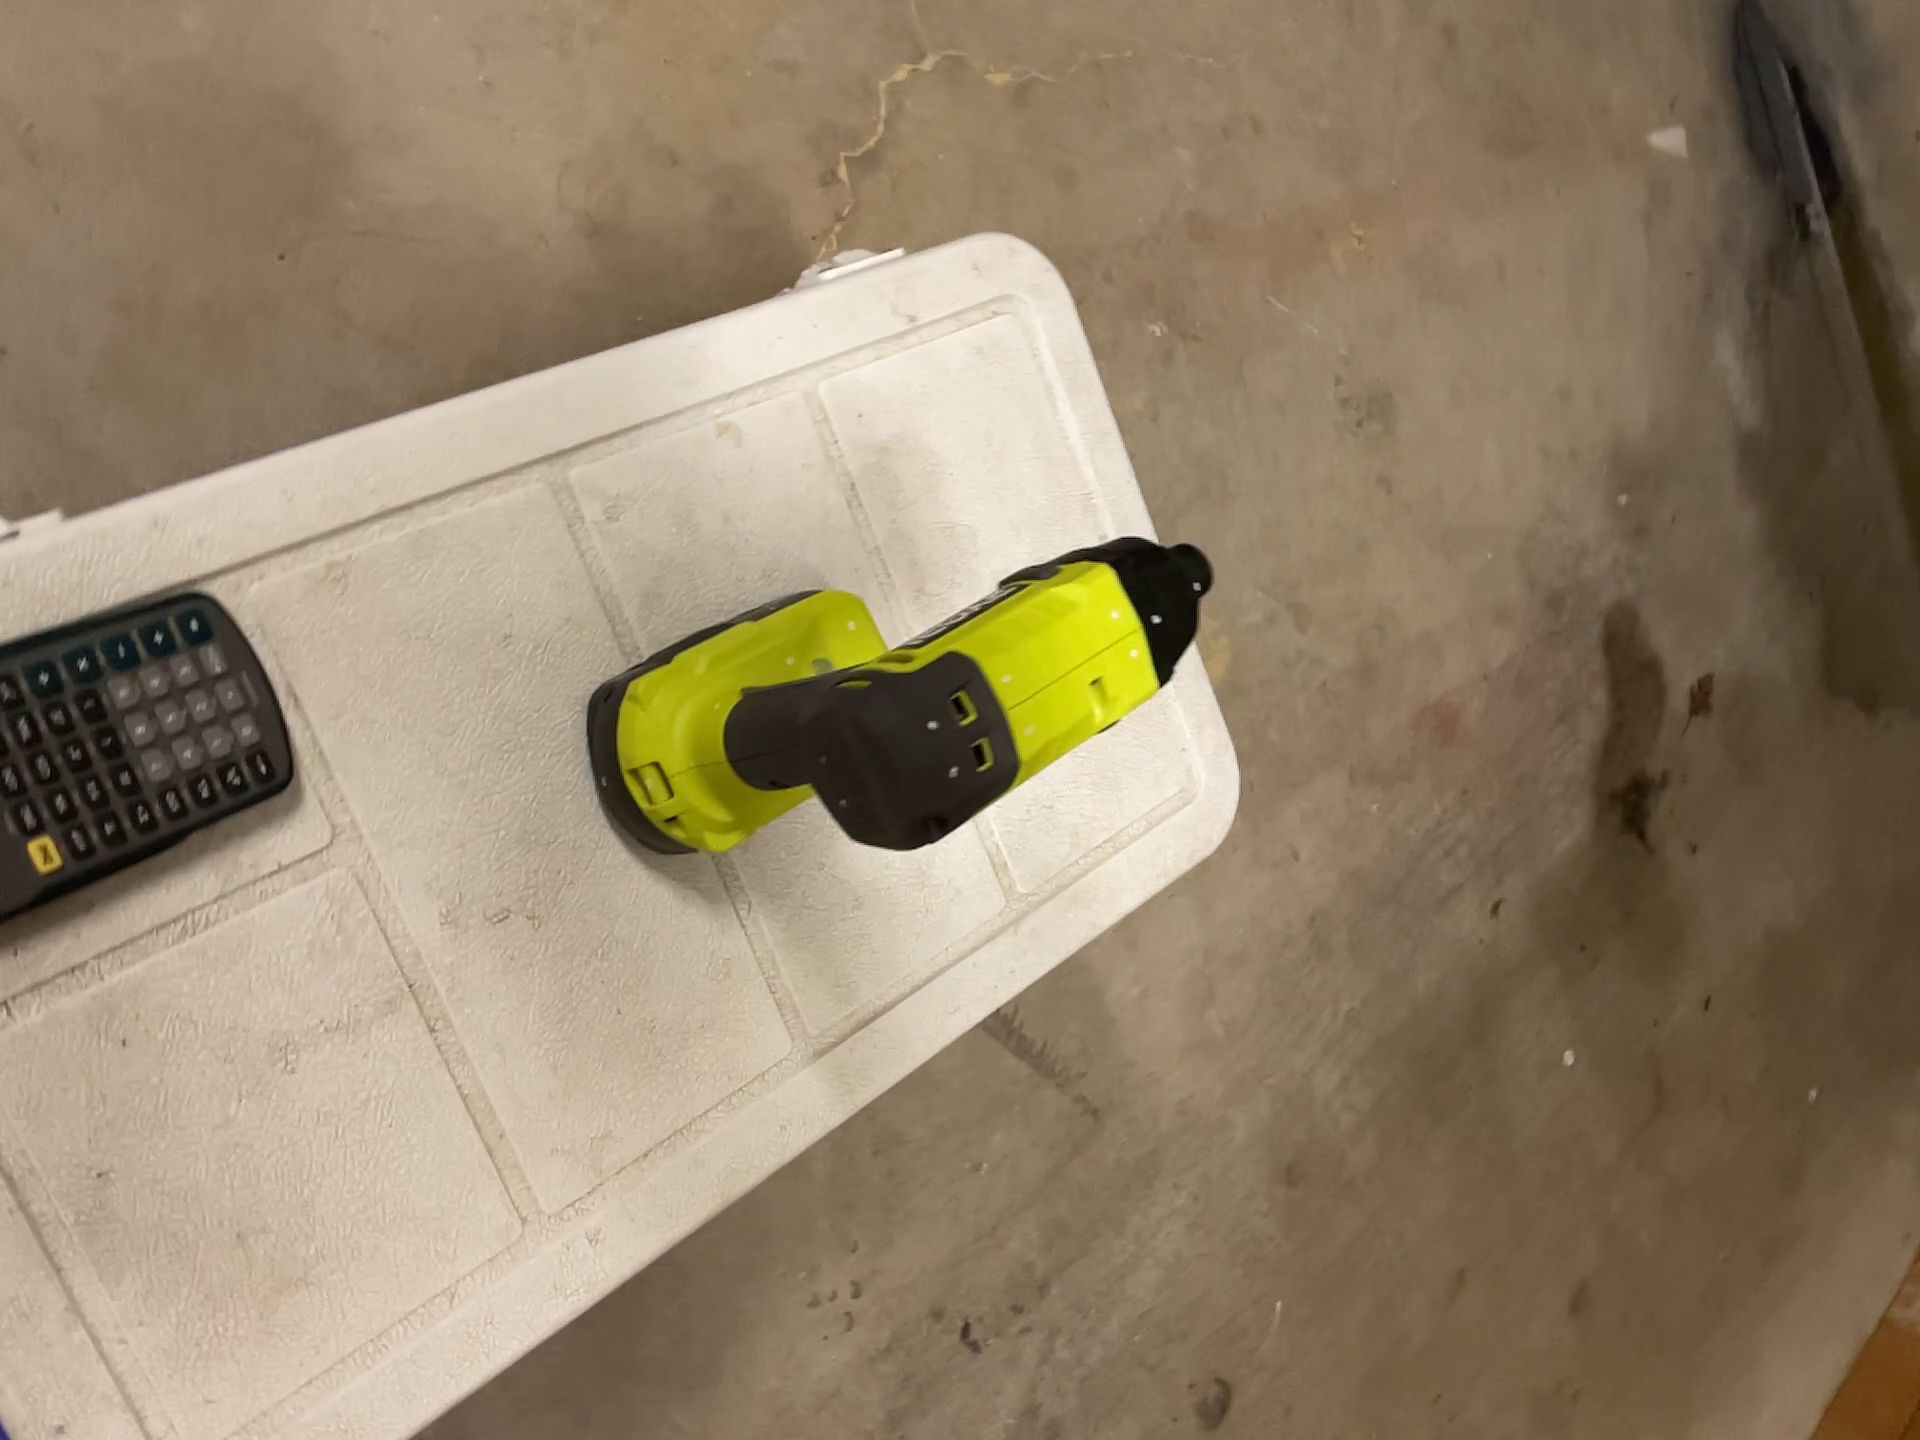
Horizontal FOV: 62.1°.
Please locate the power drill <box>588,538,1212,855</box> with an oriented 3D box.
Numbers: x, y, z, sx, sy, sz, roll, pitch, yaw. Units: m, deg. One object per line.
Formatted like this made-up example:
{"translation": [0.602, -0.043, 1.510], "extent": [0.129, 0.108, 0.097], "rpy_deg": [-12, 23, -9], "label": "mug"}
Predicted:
{"translation": [-0.025, -0.011, 0.591], "extent": [0.171, 0.223, 0.080], "rpy_deg": [-32, 106, -36], "label": "power drill"}
